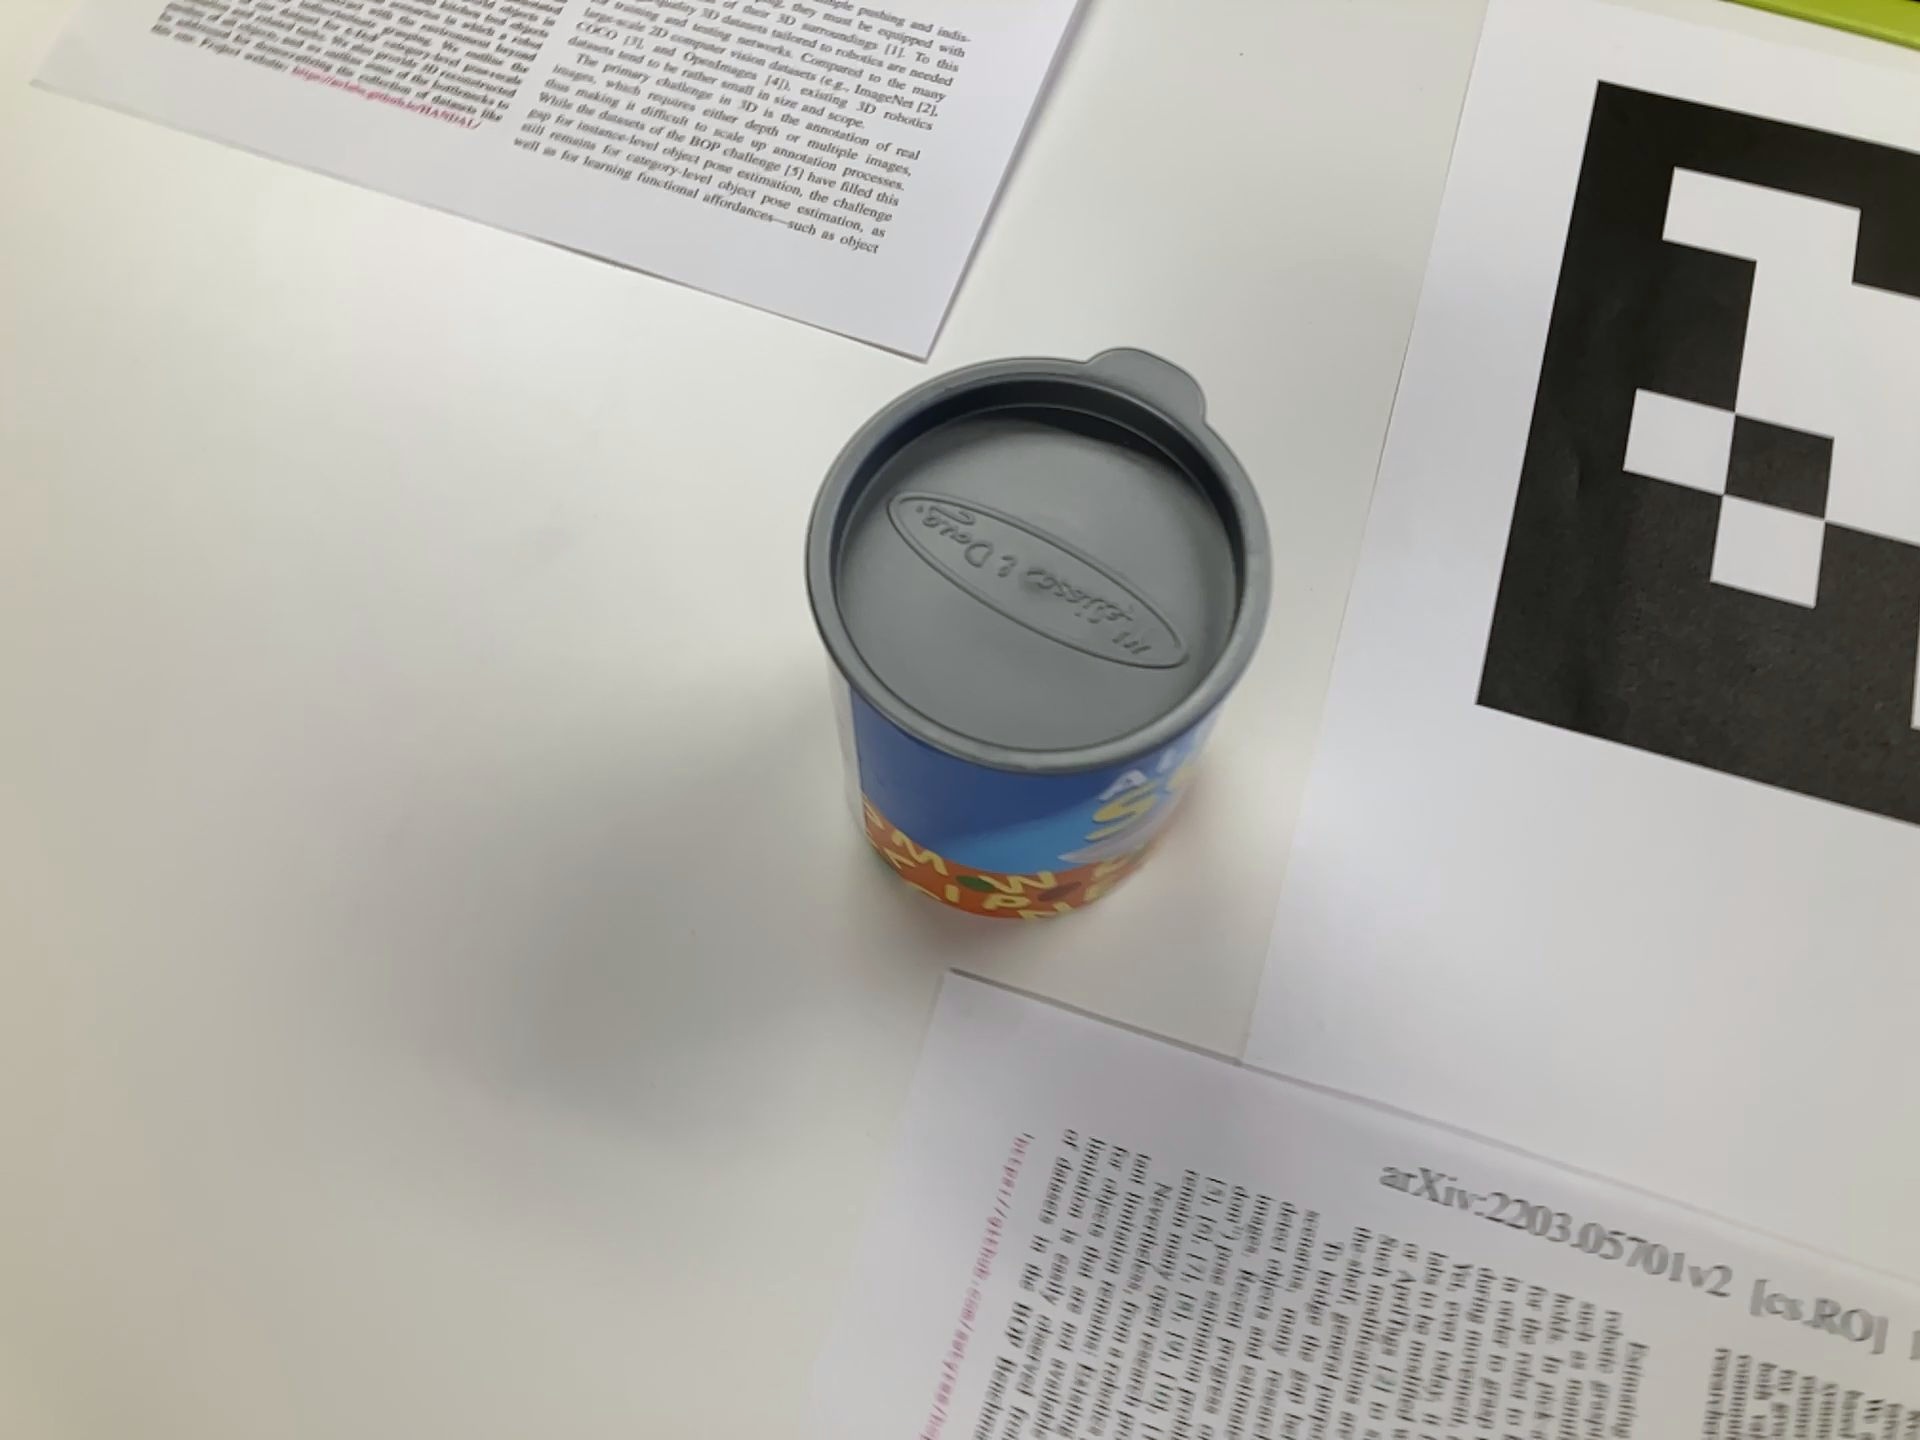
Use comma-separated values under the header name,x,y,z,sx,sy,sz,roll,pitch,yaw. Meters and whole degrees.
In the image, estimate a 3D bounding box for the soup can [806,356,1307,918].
name,x,y,z,sx,sy,sz,roll,pitch,yaw
soup can,0.014,-0.008,0.264,0.071,0.084,0.071,0,68,0
